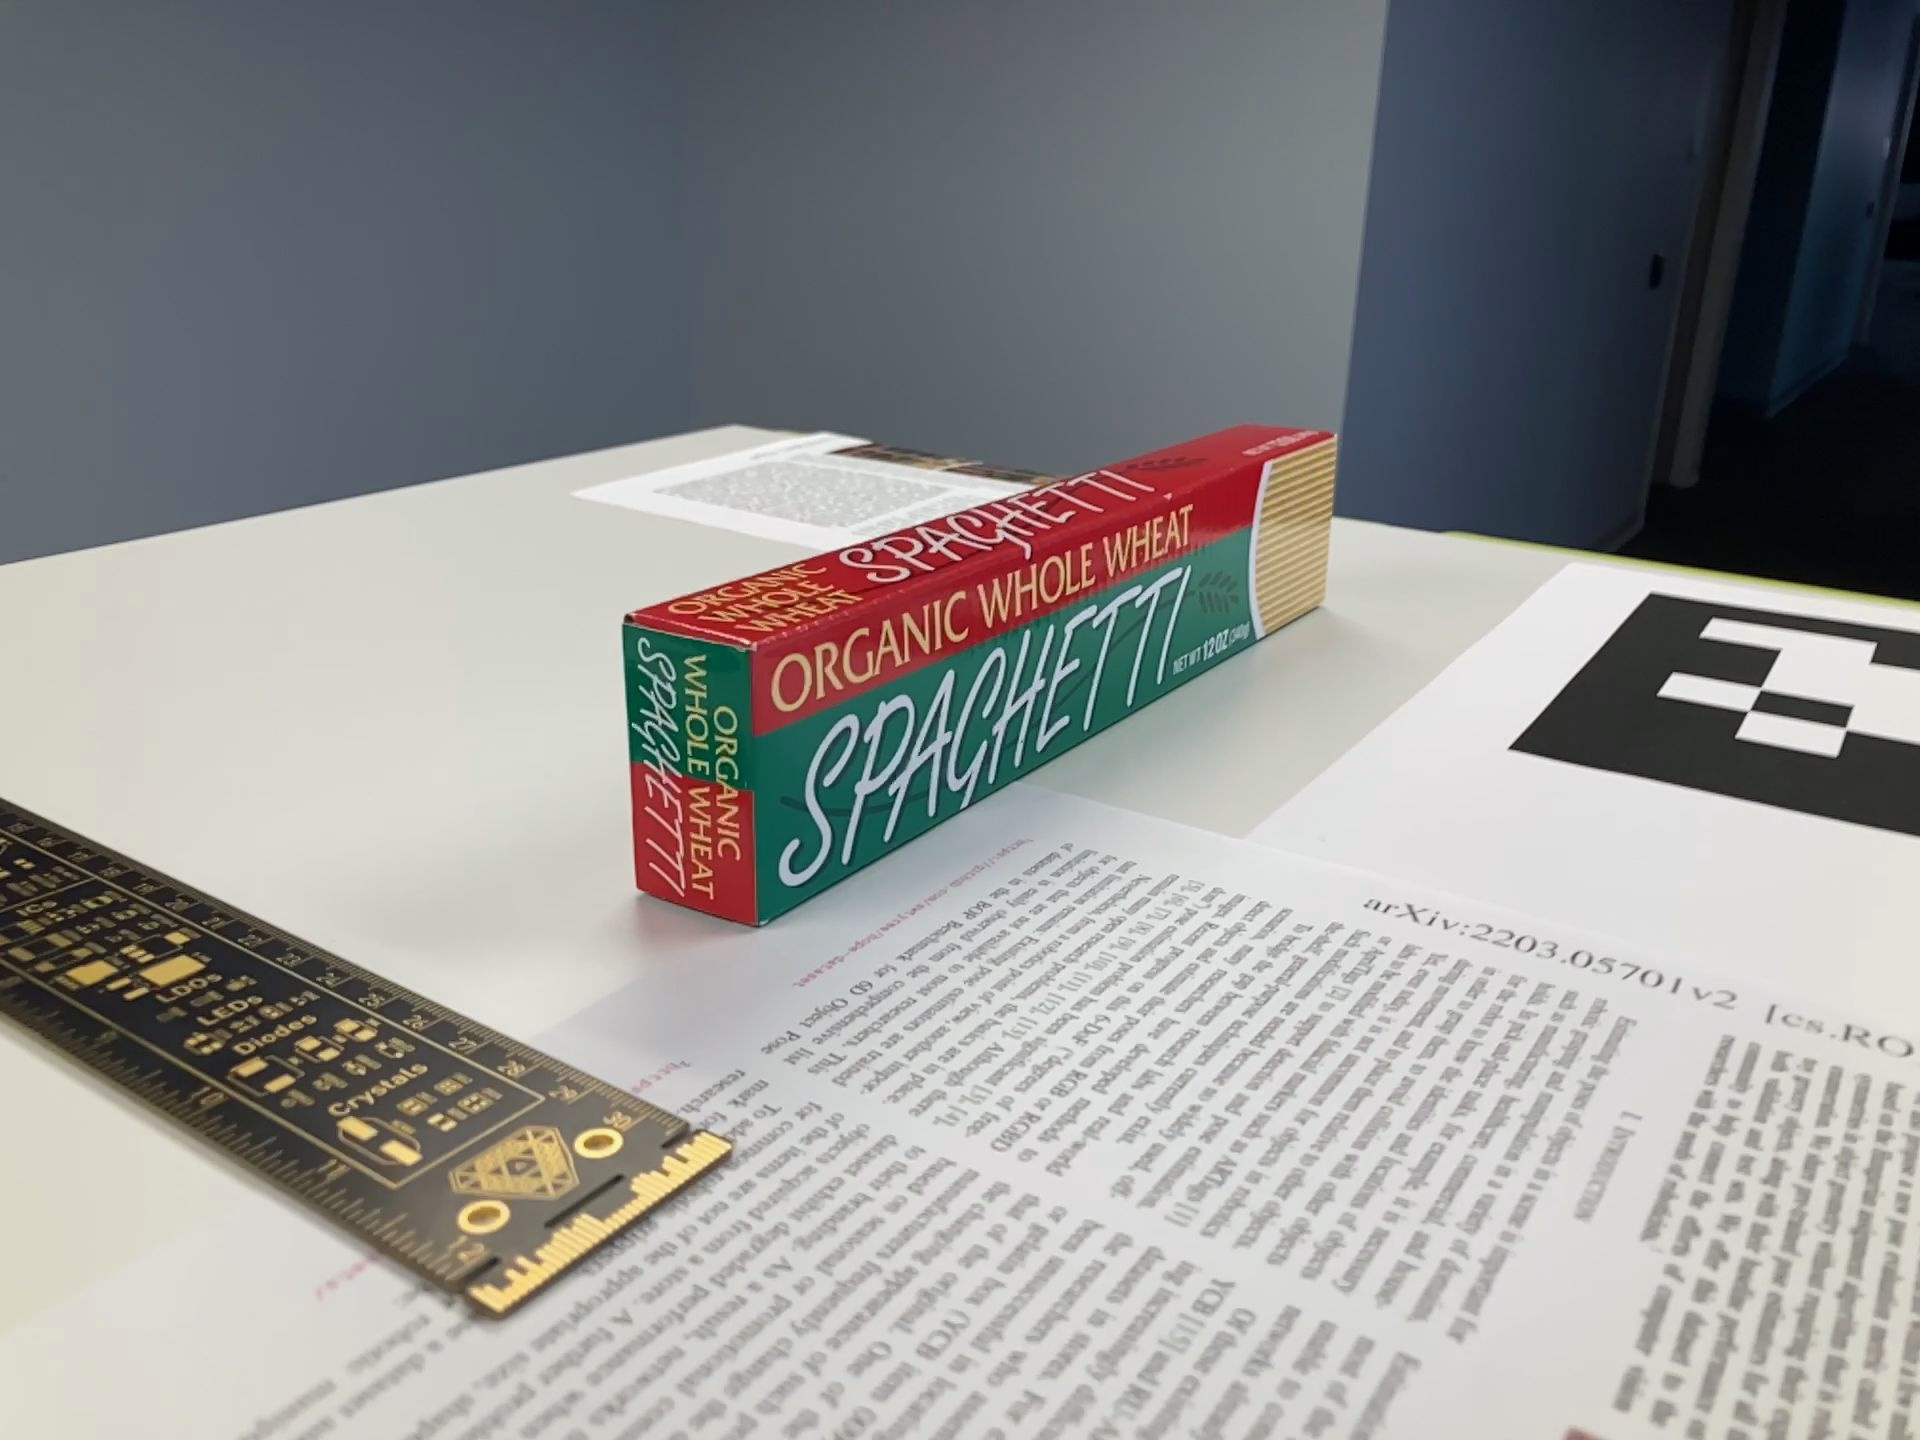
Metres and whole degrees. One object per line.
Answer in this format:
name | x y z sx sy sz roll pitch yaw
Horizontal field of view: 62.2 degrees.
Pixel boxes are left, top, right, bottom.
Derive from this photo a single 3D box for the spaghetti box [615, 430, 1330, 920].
spaghetti box | 0.023 -0.024 0.355 0.028 0.050 0.250 12 22 31
